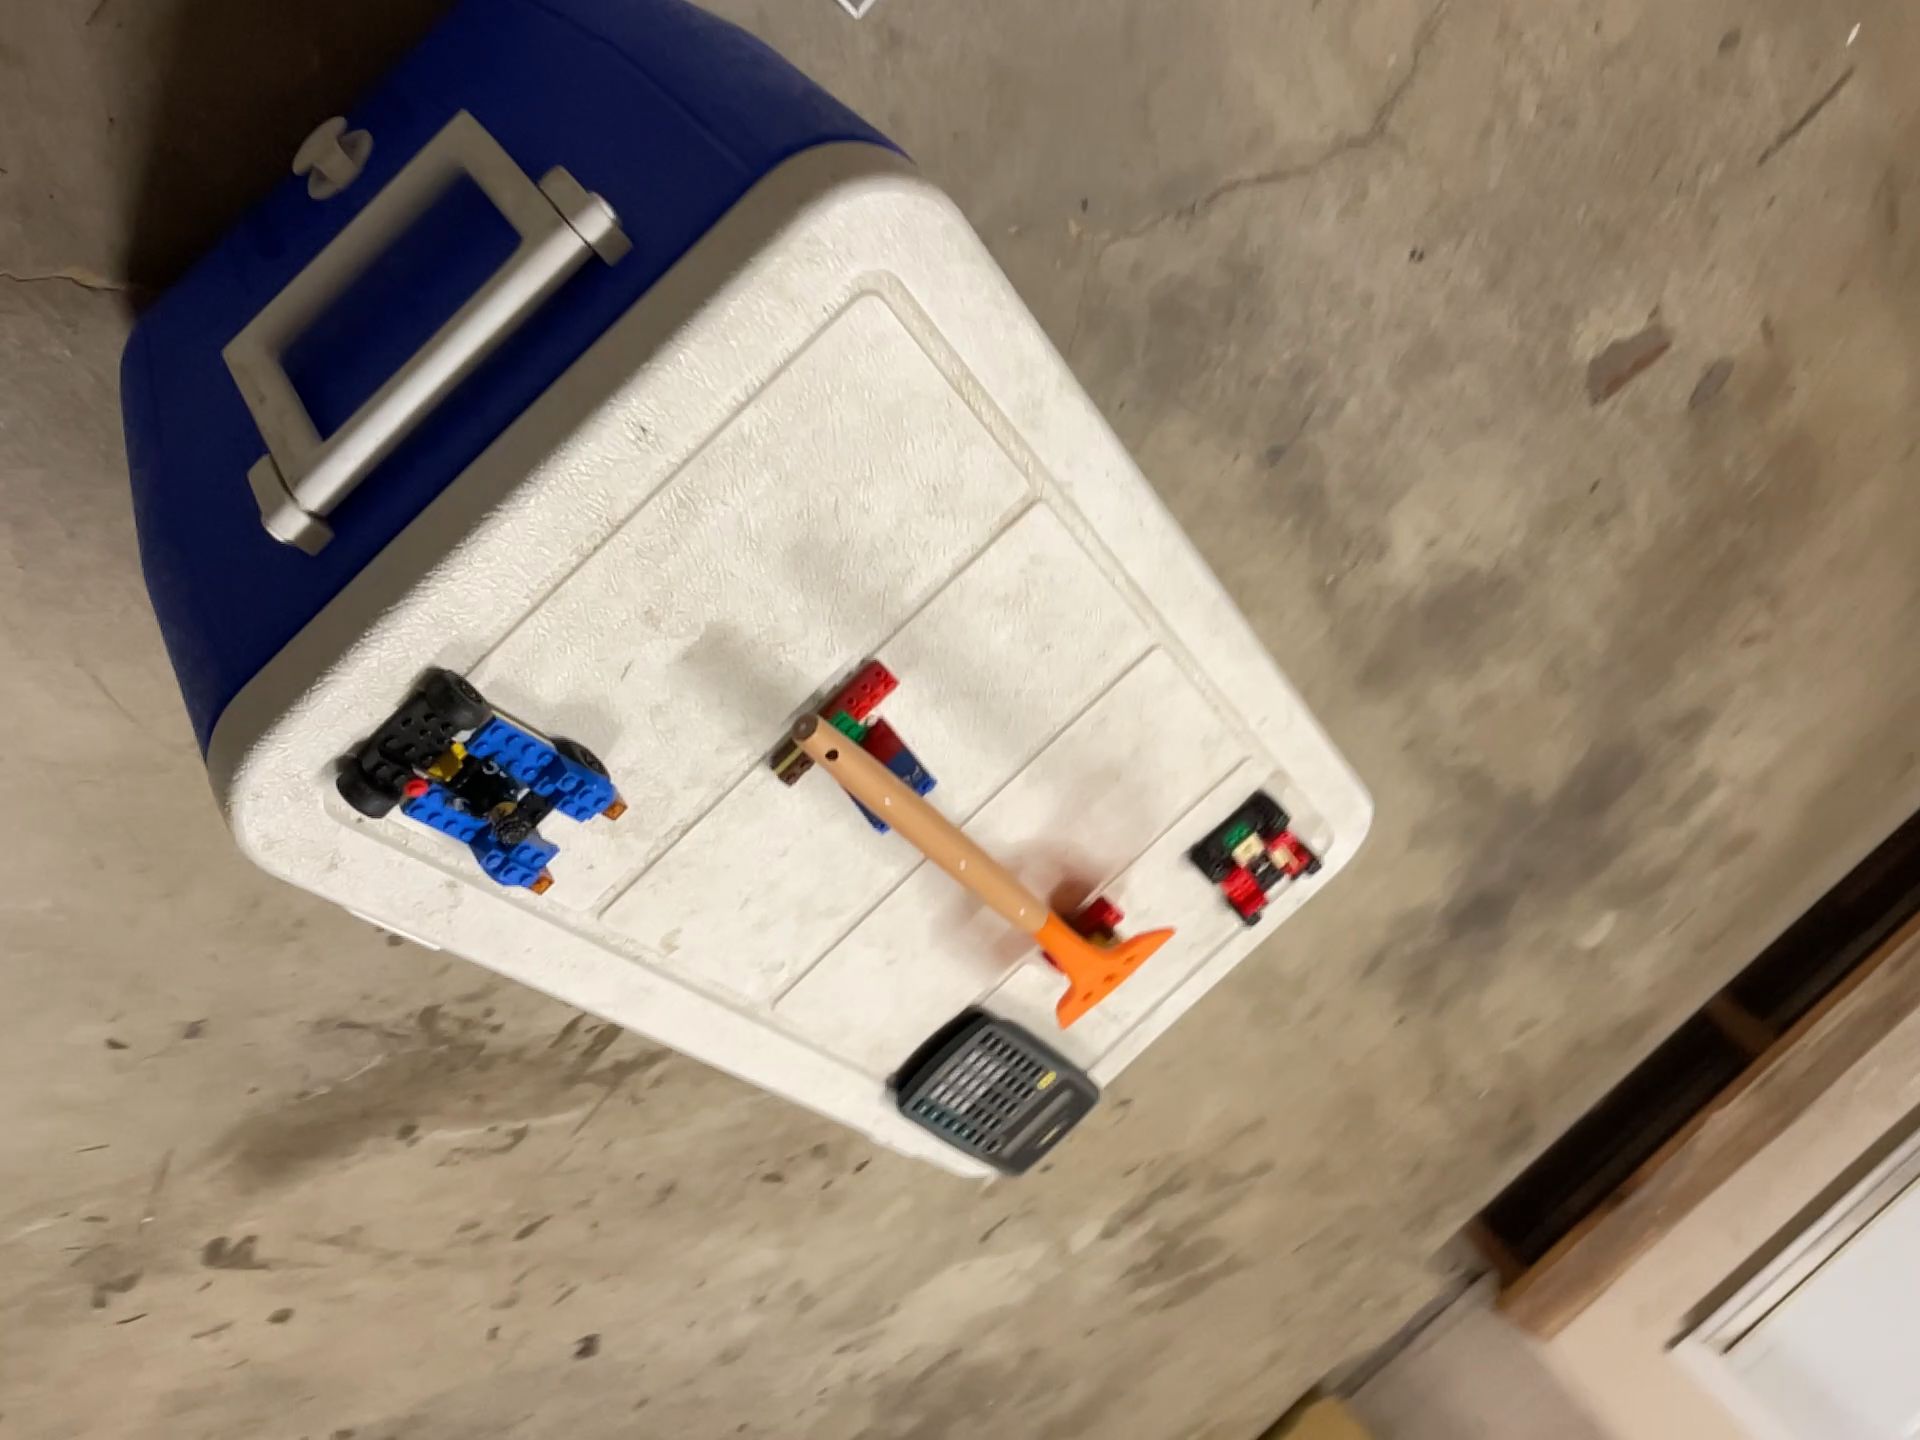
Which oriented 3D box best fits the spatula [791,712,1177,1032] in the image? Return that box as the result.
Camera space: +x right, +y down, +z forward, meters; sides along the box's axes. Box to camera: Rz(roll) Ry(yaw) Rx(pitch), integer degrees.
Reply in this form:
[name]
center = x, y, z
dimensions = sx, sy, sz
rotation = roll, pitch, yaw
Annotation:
[spatula]
center = 0.016, 0.073, 0.710
dimensions = 0.081, 0.041, 0.322
rotation = -42, 137, 3
